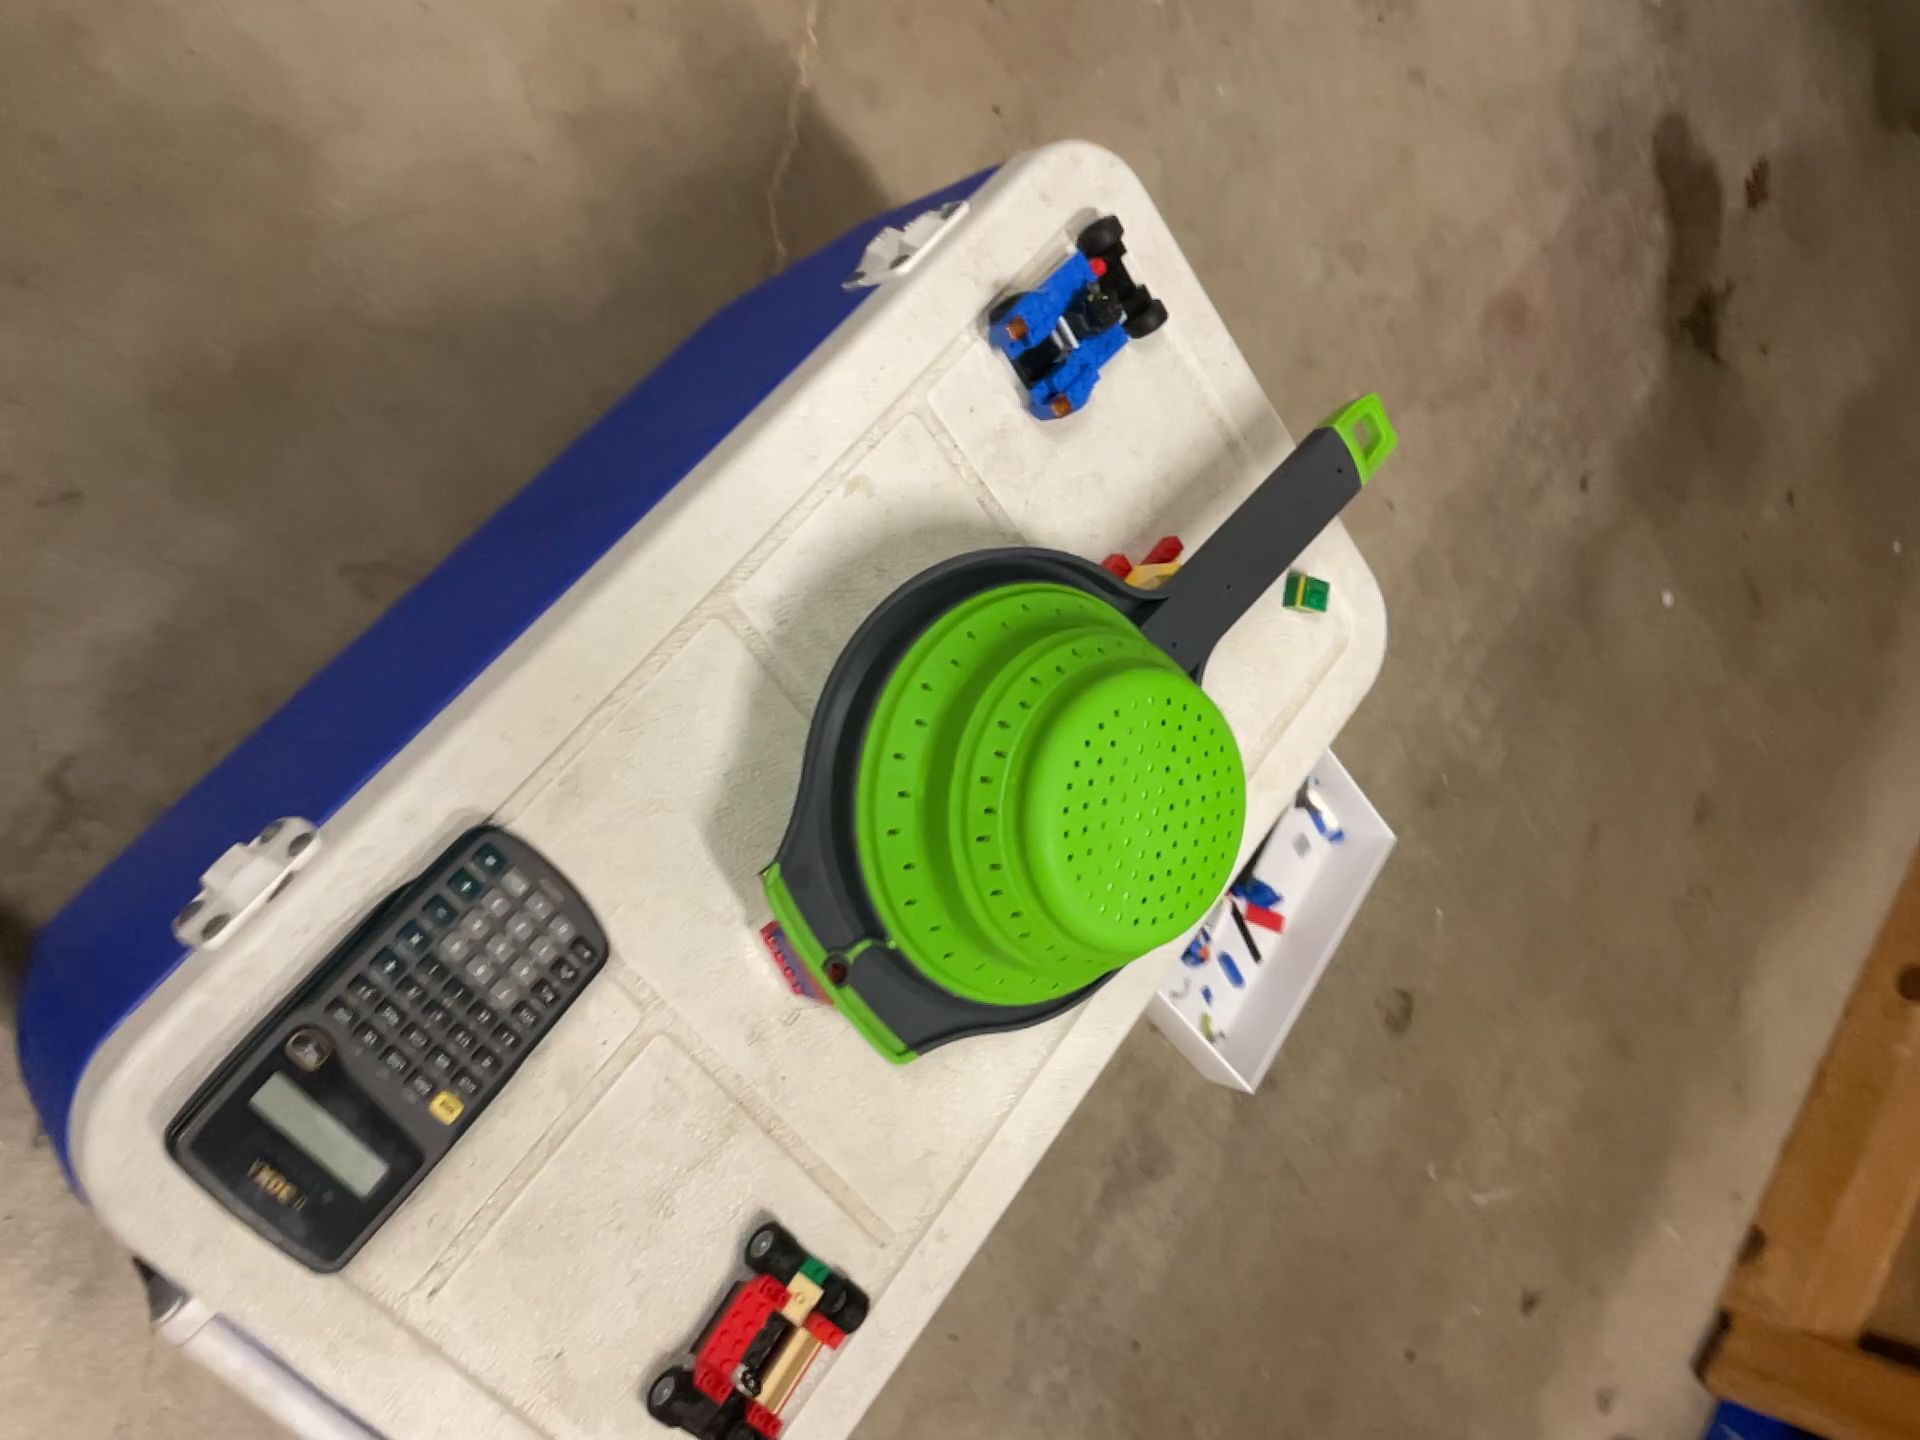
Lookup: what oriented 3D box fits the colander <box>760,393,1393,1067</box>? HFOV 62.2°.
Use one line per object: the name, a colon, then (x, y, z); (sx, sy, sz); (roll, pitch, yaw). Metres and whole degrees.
colander: (0.097, -0.021, 0.667); (0.397, 0.094, 0.204); (-45, 117, -25)
